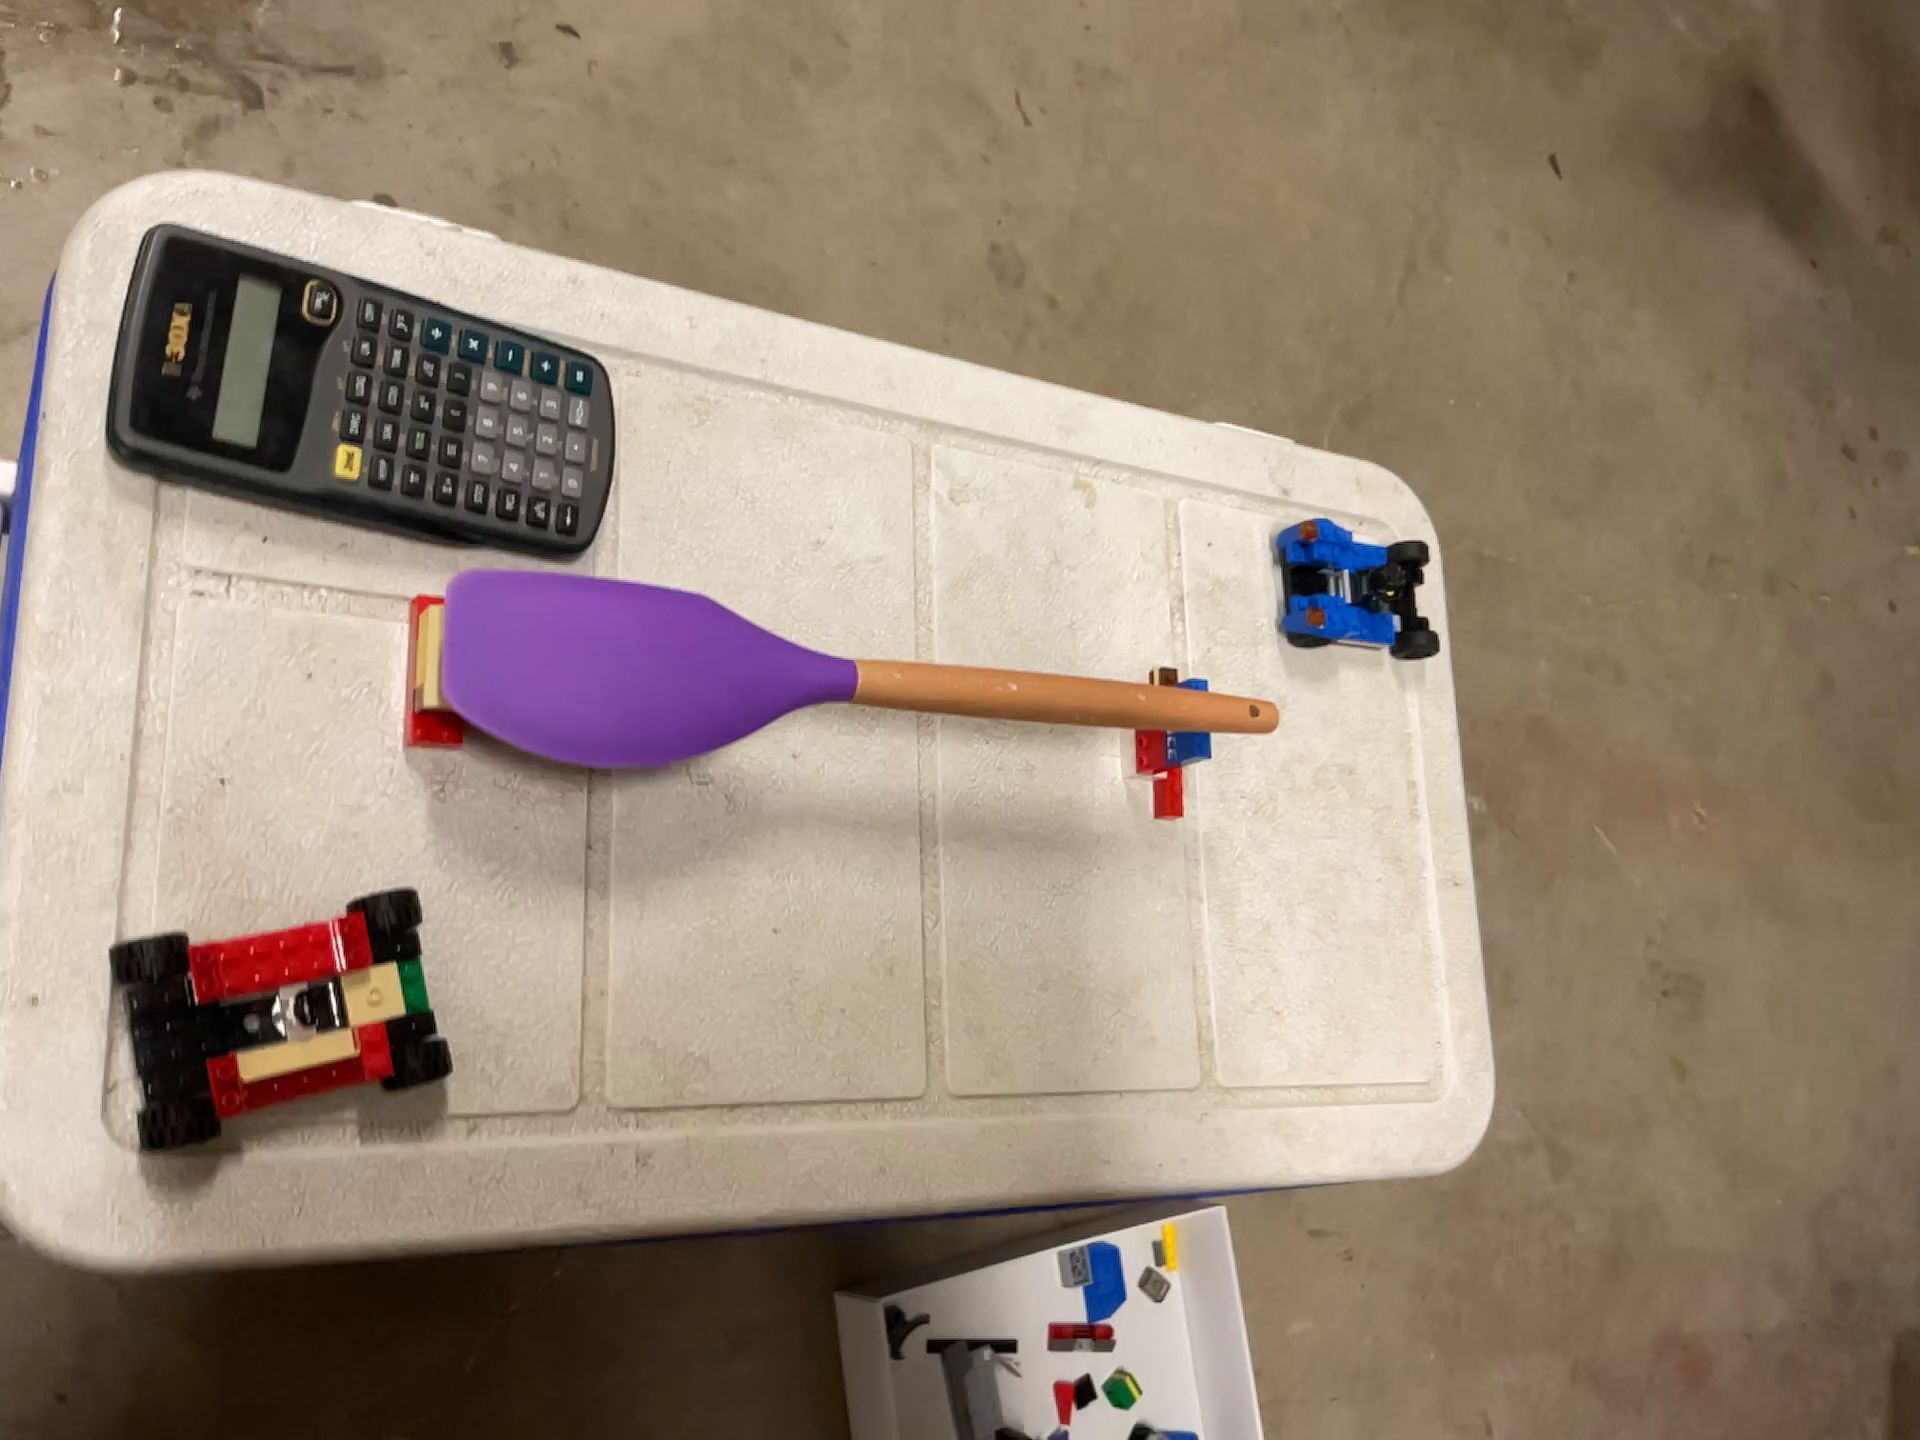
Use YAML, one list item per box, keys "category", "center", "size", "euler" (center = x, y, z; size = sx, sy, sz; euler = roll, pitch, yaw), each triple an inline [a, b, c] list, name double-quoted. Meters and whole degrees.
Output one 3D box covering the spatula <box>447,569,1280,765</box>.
- category: "spatula"
  center: [-0.015, -0.009, 0.548]
  size: [0.316, 0.018, 0.060]
  euler: [4, 76, -30]
